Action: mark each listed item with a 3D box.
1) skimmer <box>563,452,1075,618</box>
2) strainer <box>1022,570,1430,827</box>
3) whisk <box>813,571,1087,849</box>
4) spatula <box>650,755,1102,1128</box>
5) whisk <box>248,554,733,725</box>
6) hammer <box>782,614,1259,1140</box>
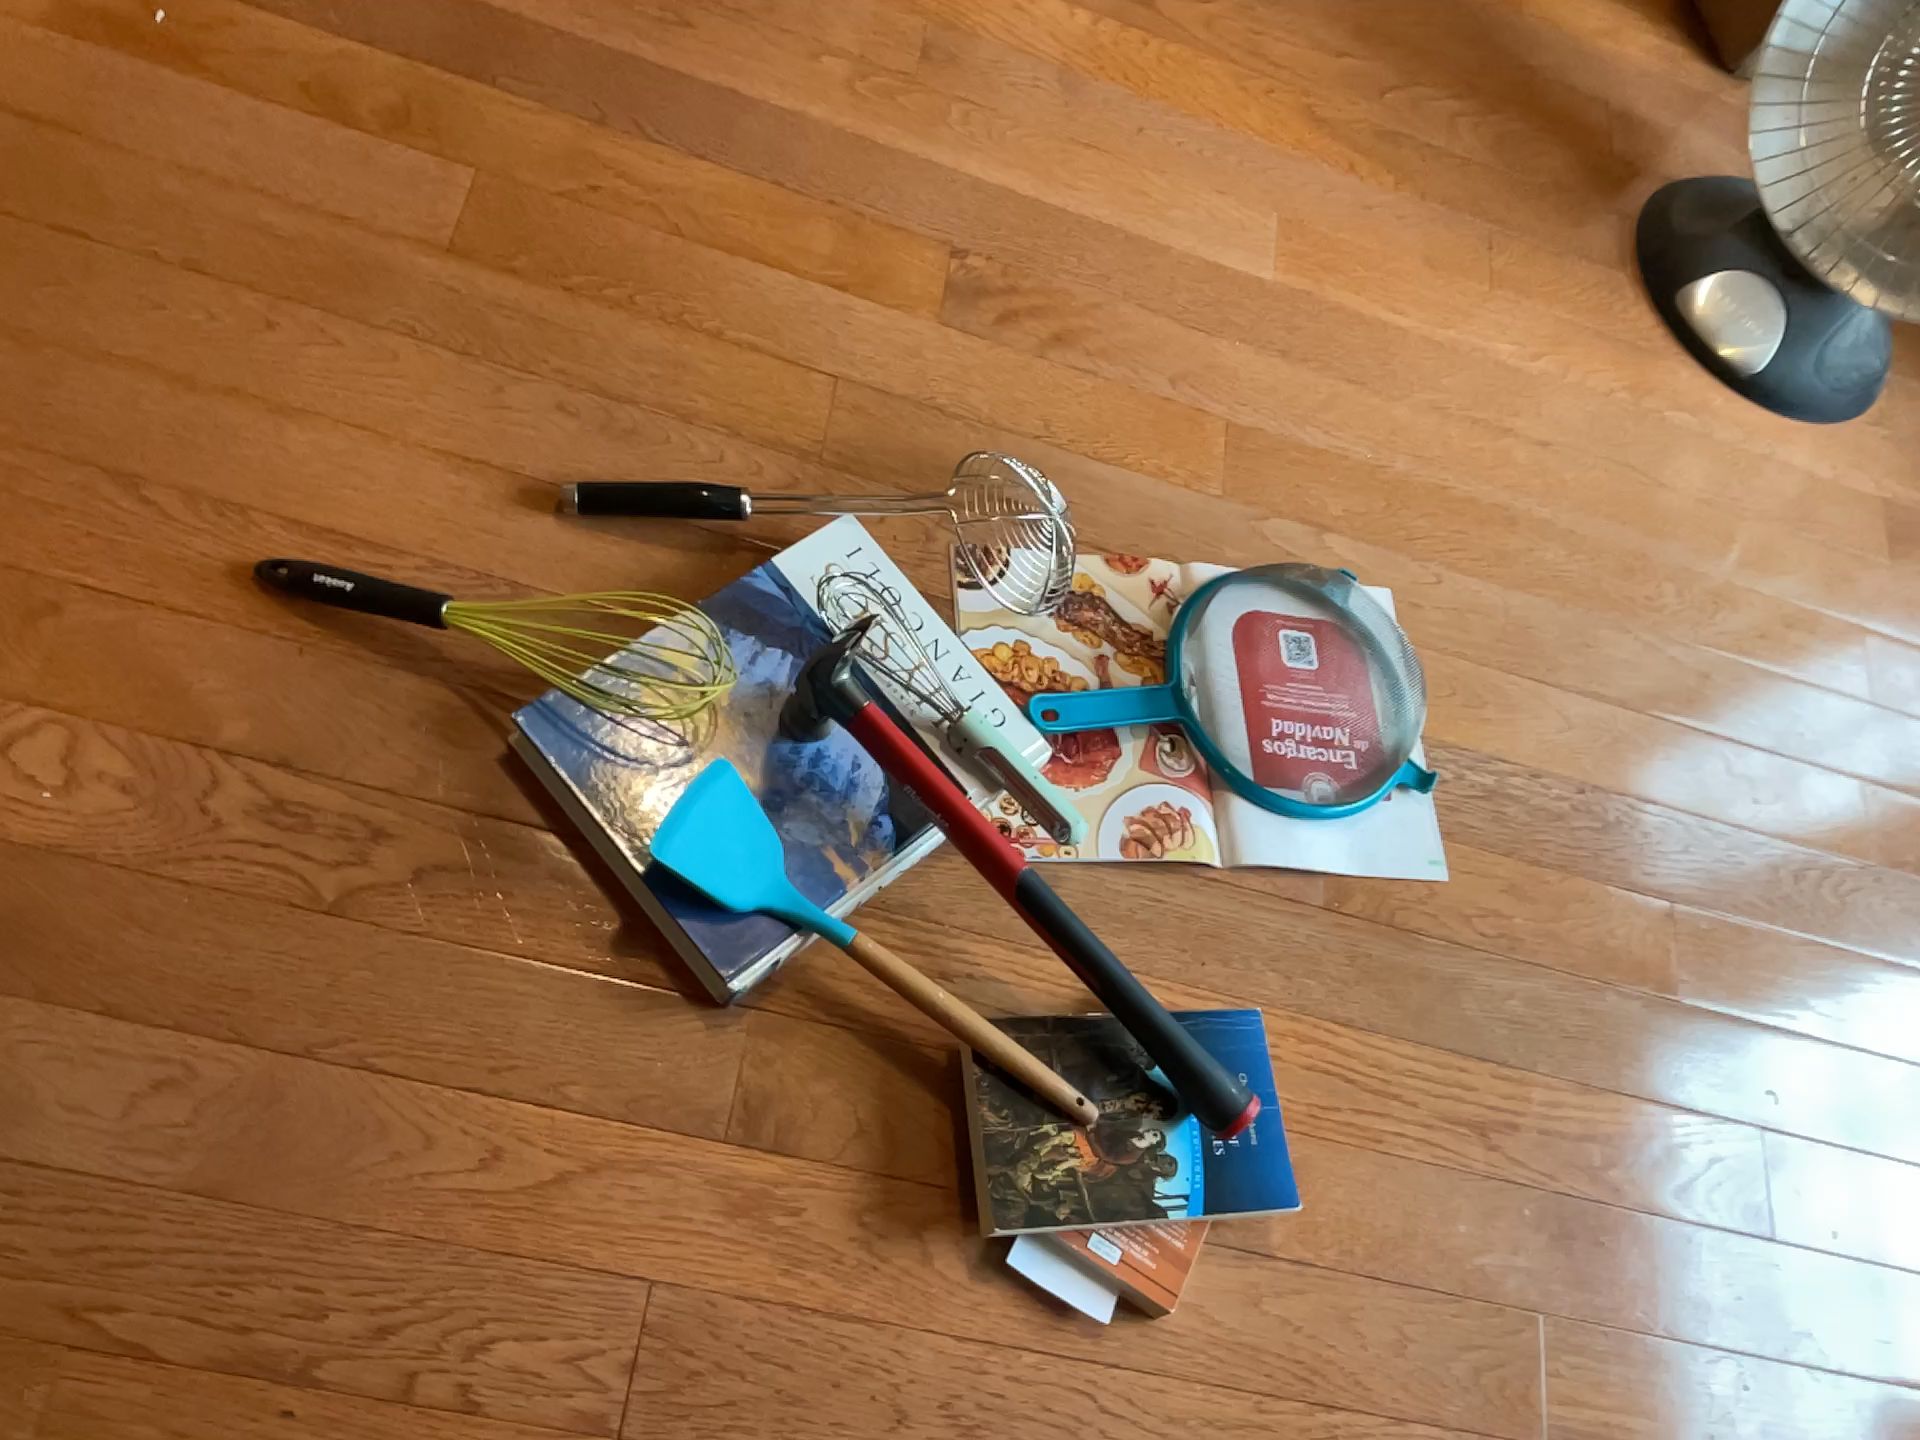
[{"bbox_3d":[-0.092,-0.136,1.131,0.363,0.090,0.127,0,67,-8],"label":"skimmer"},{"bbox_3d":[0.207,-0.030,1.141,0.340,0.095,0.211,-4,67,-29],"label":"strainer"},{"bbox_3d":[-0.006,-0.006,1.051,0.246,0.057,0.059,45,28,0],"label":"whisk"},{"bbox_3d":[-0.042,0.147,0.958,0.317,0.044,0.082,36,57,-1],"label":"spatula"},{"bbox_3d":[-0.291,-0.060,0.984,0.311,0.067,0.080,14,76,3],"label":"whisk"},{"bbox_3d":[0.044,0.101,0.968,0.386,0.143,0.038,46,62,2],"label":"hammer"}]
